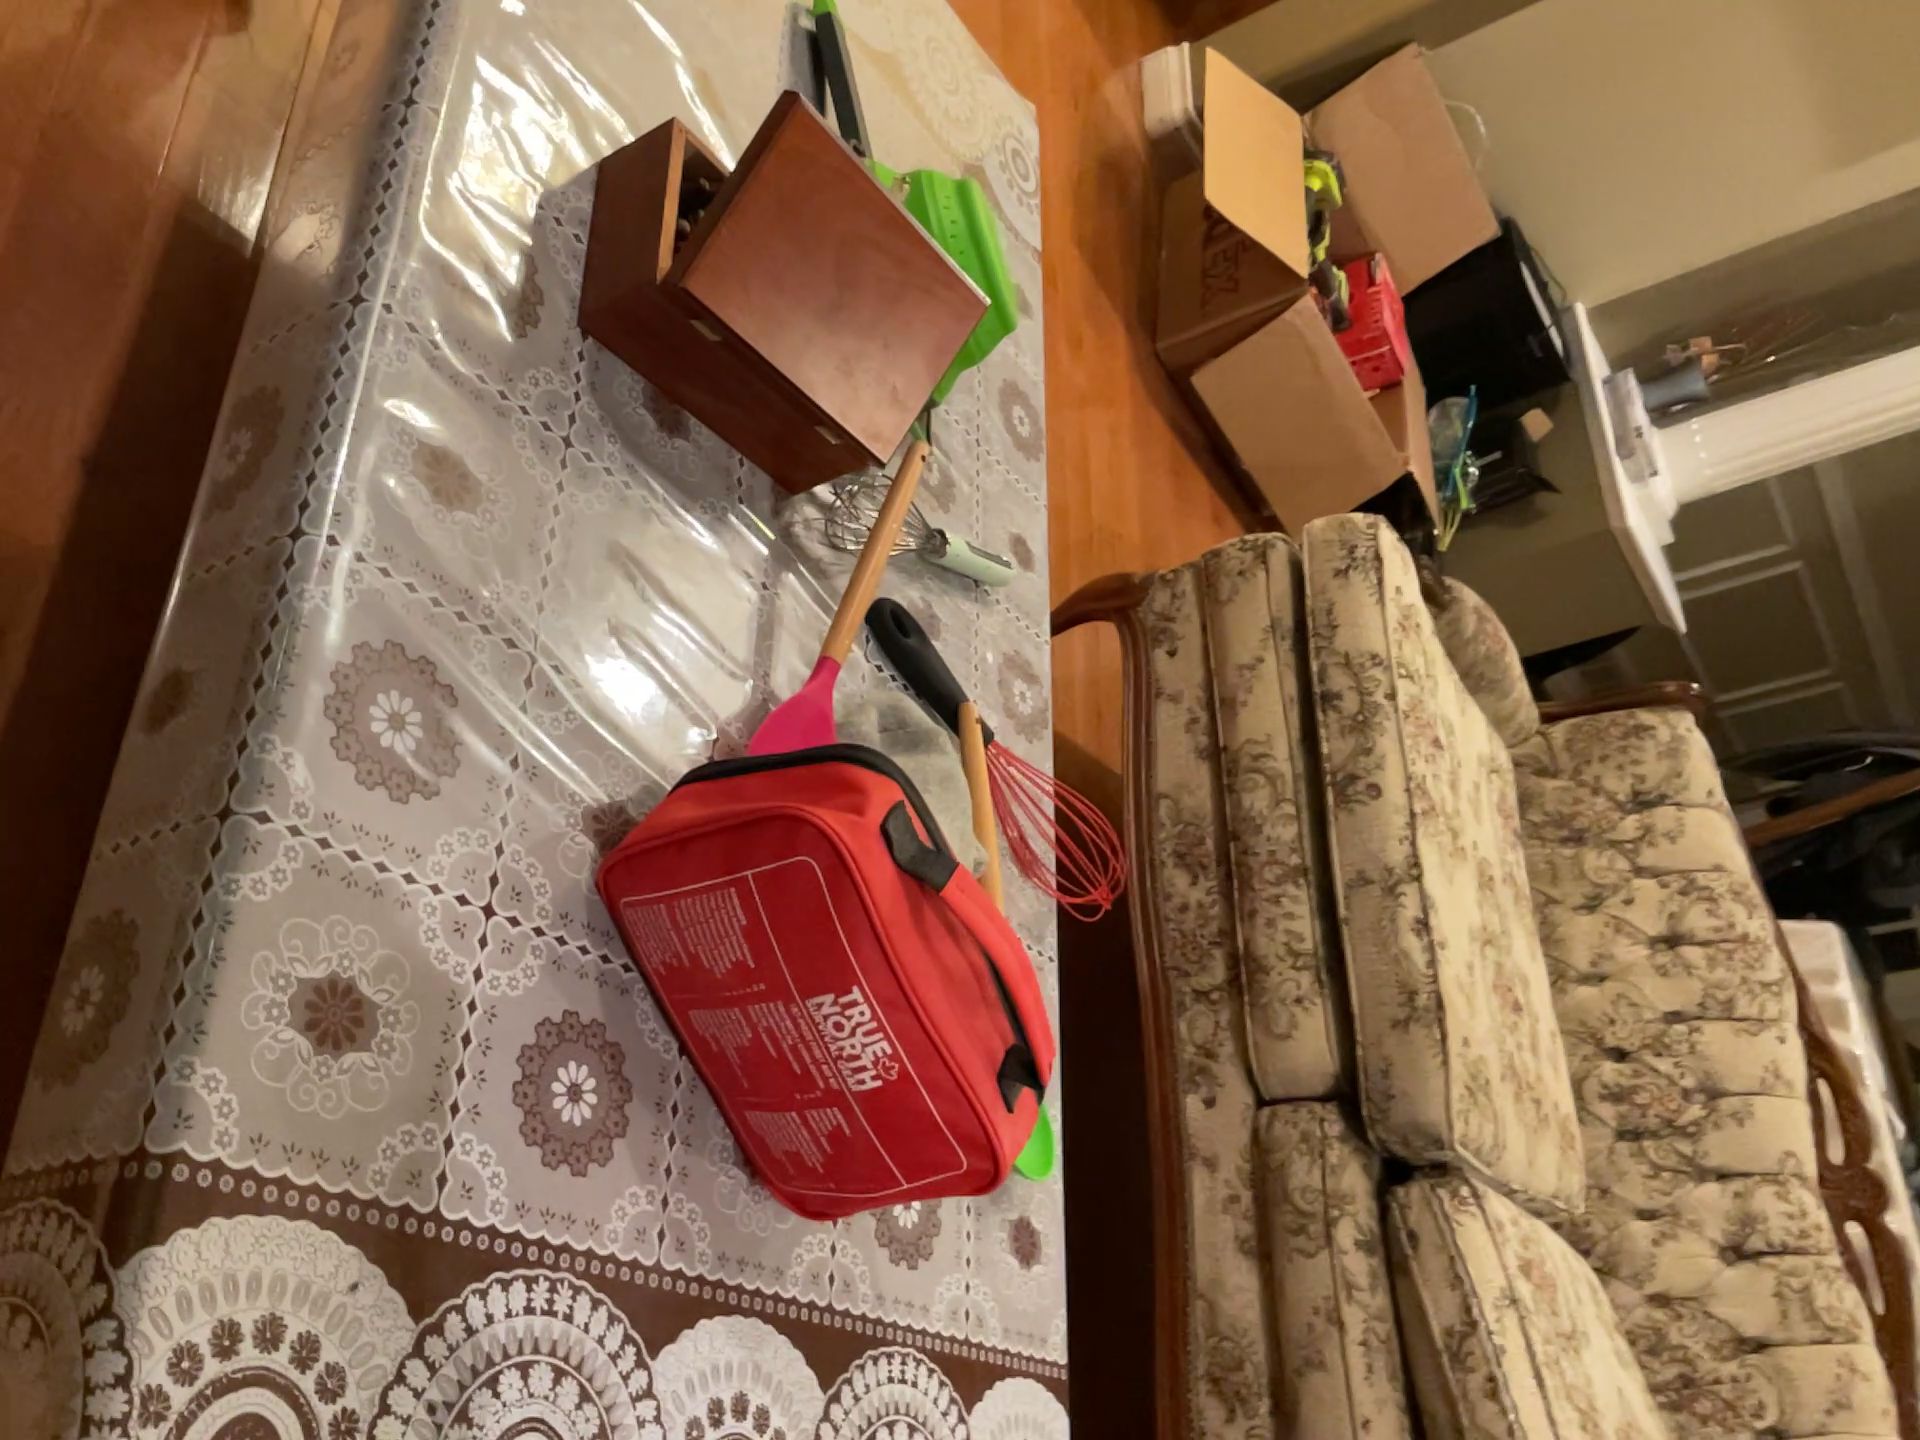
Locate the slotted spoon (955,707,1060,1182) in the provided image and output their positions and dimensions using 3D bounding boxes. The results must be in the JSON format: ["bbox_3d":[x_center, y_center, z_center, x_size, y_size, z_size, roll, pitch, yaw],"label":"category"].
[{"bbox_3d":[0.023,0.144,1.052,0.070,0.031,0.314,11,69,-57],"label":"slotted spoon"}]

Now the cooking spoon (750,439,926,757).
[{"bbox_3d":[-0.072,-0.053,0.972,0.068,0.017,0.319,48,48,-39],"label":"cooking spoon"}]

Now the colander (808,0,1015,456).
[{"bbox_3d":[-0.035,-0.387,1.148,0.204,0.094,0.397,54,21,-66],"label":"colander"}]

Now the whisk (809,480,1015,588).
[{"bbox_3d":[-0.025,-0.124,1.128,0.246,0.059,0.058,11,107,-60],"label":"whisk"}]

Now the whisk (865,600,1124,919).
[{"bbox_3d":[0.026,0.030,1.115,0.295,0.073,0.073,52,41,-21],"label":"whisk"}]
